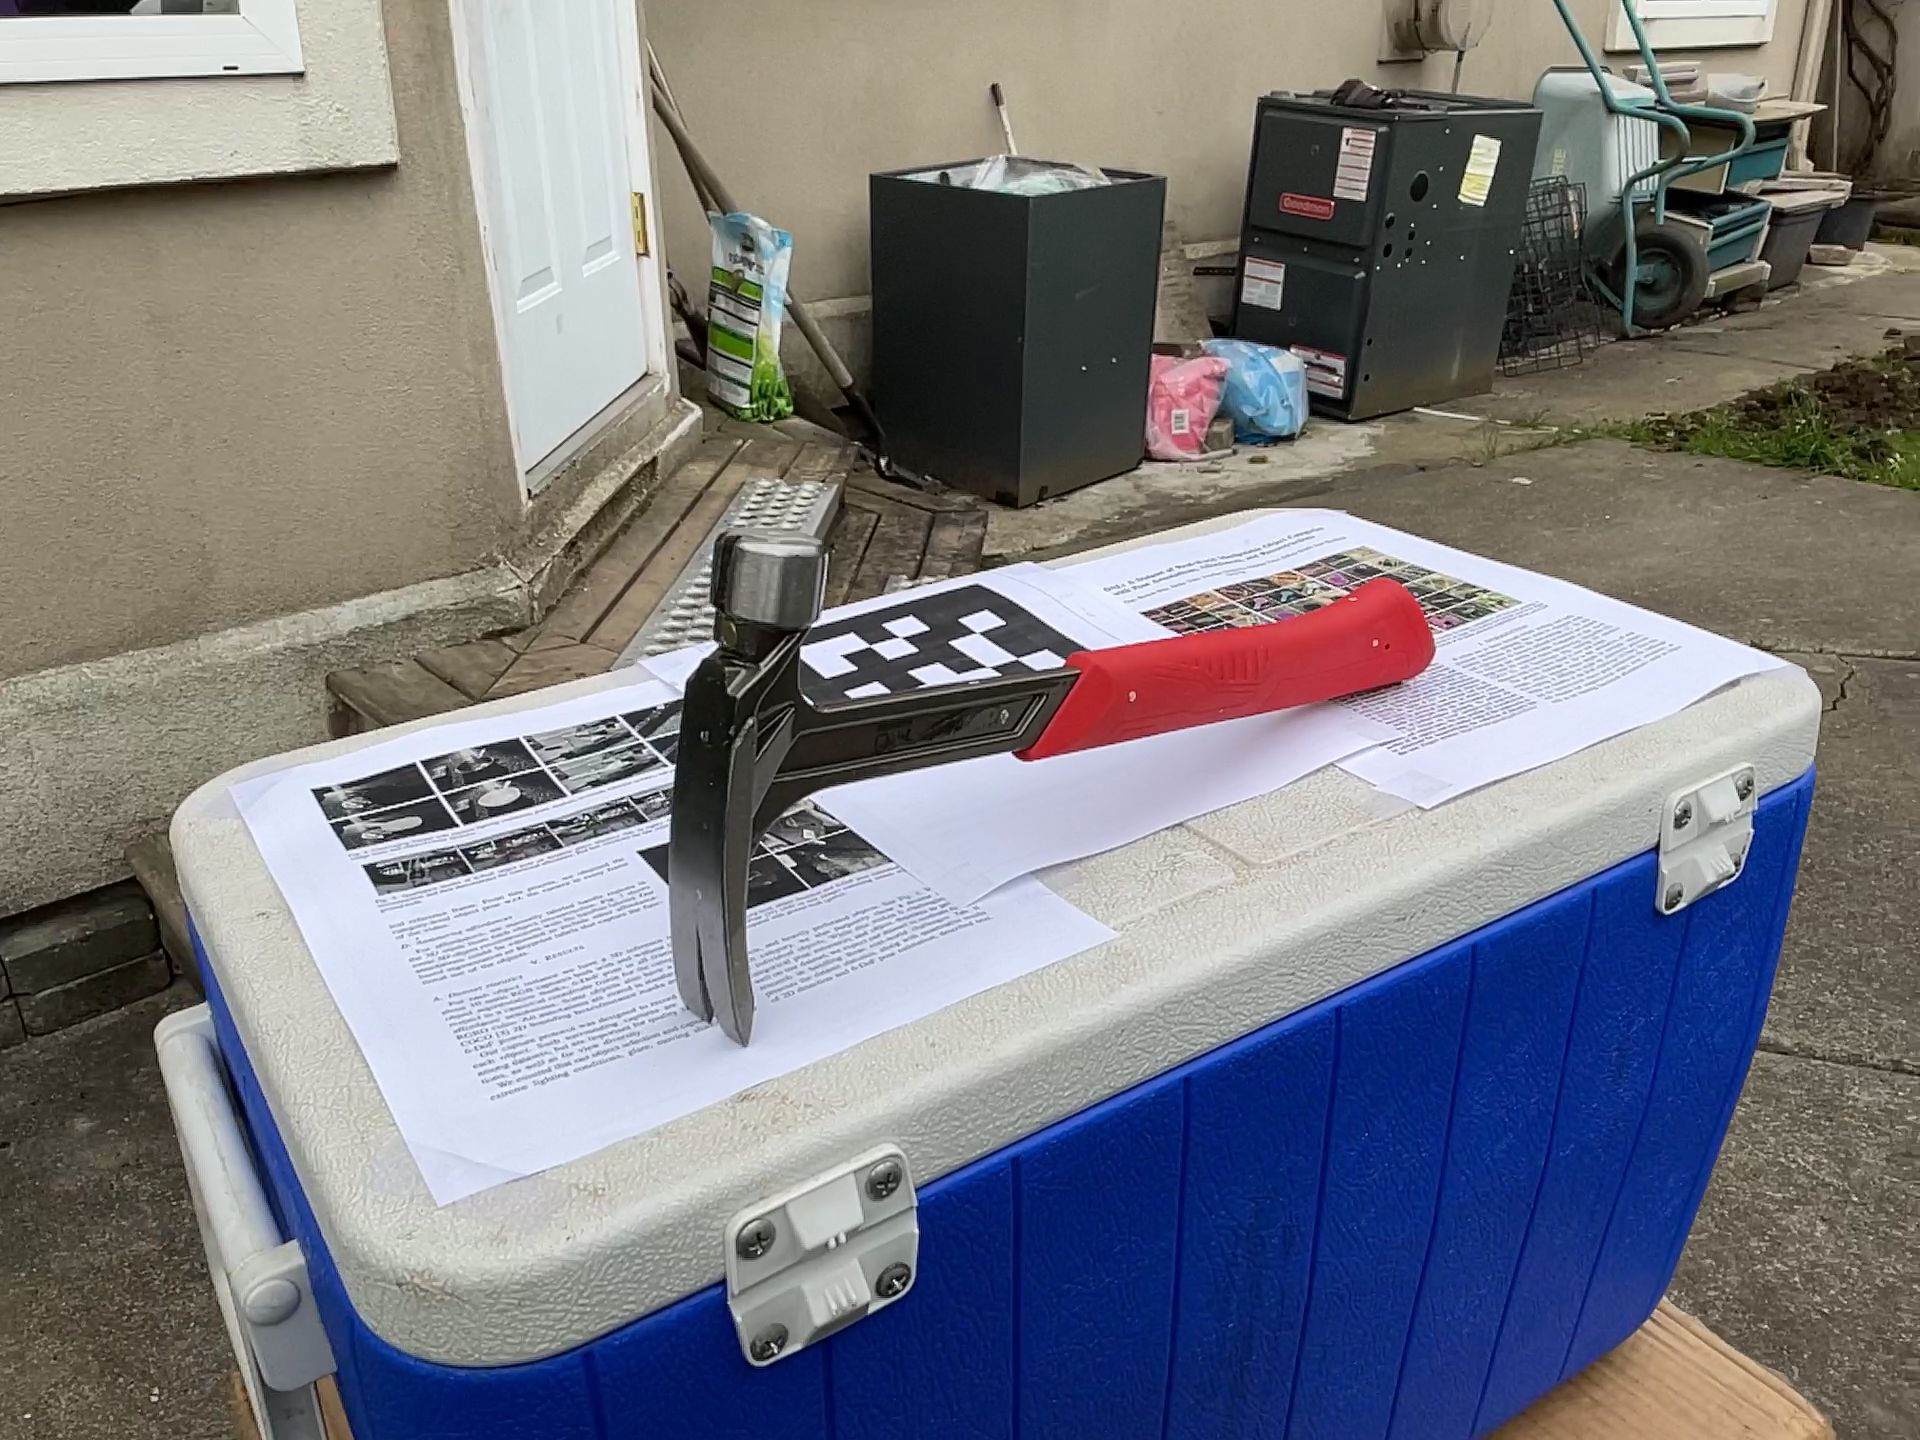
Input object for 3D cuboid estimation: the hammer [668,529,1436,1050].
[{"bbox_3d":[0.057,0.001,0.565,0.359,0.149,0.037,-9,23,-43],"label":"hammer"}]
